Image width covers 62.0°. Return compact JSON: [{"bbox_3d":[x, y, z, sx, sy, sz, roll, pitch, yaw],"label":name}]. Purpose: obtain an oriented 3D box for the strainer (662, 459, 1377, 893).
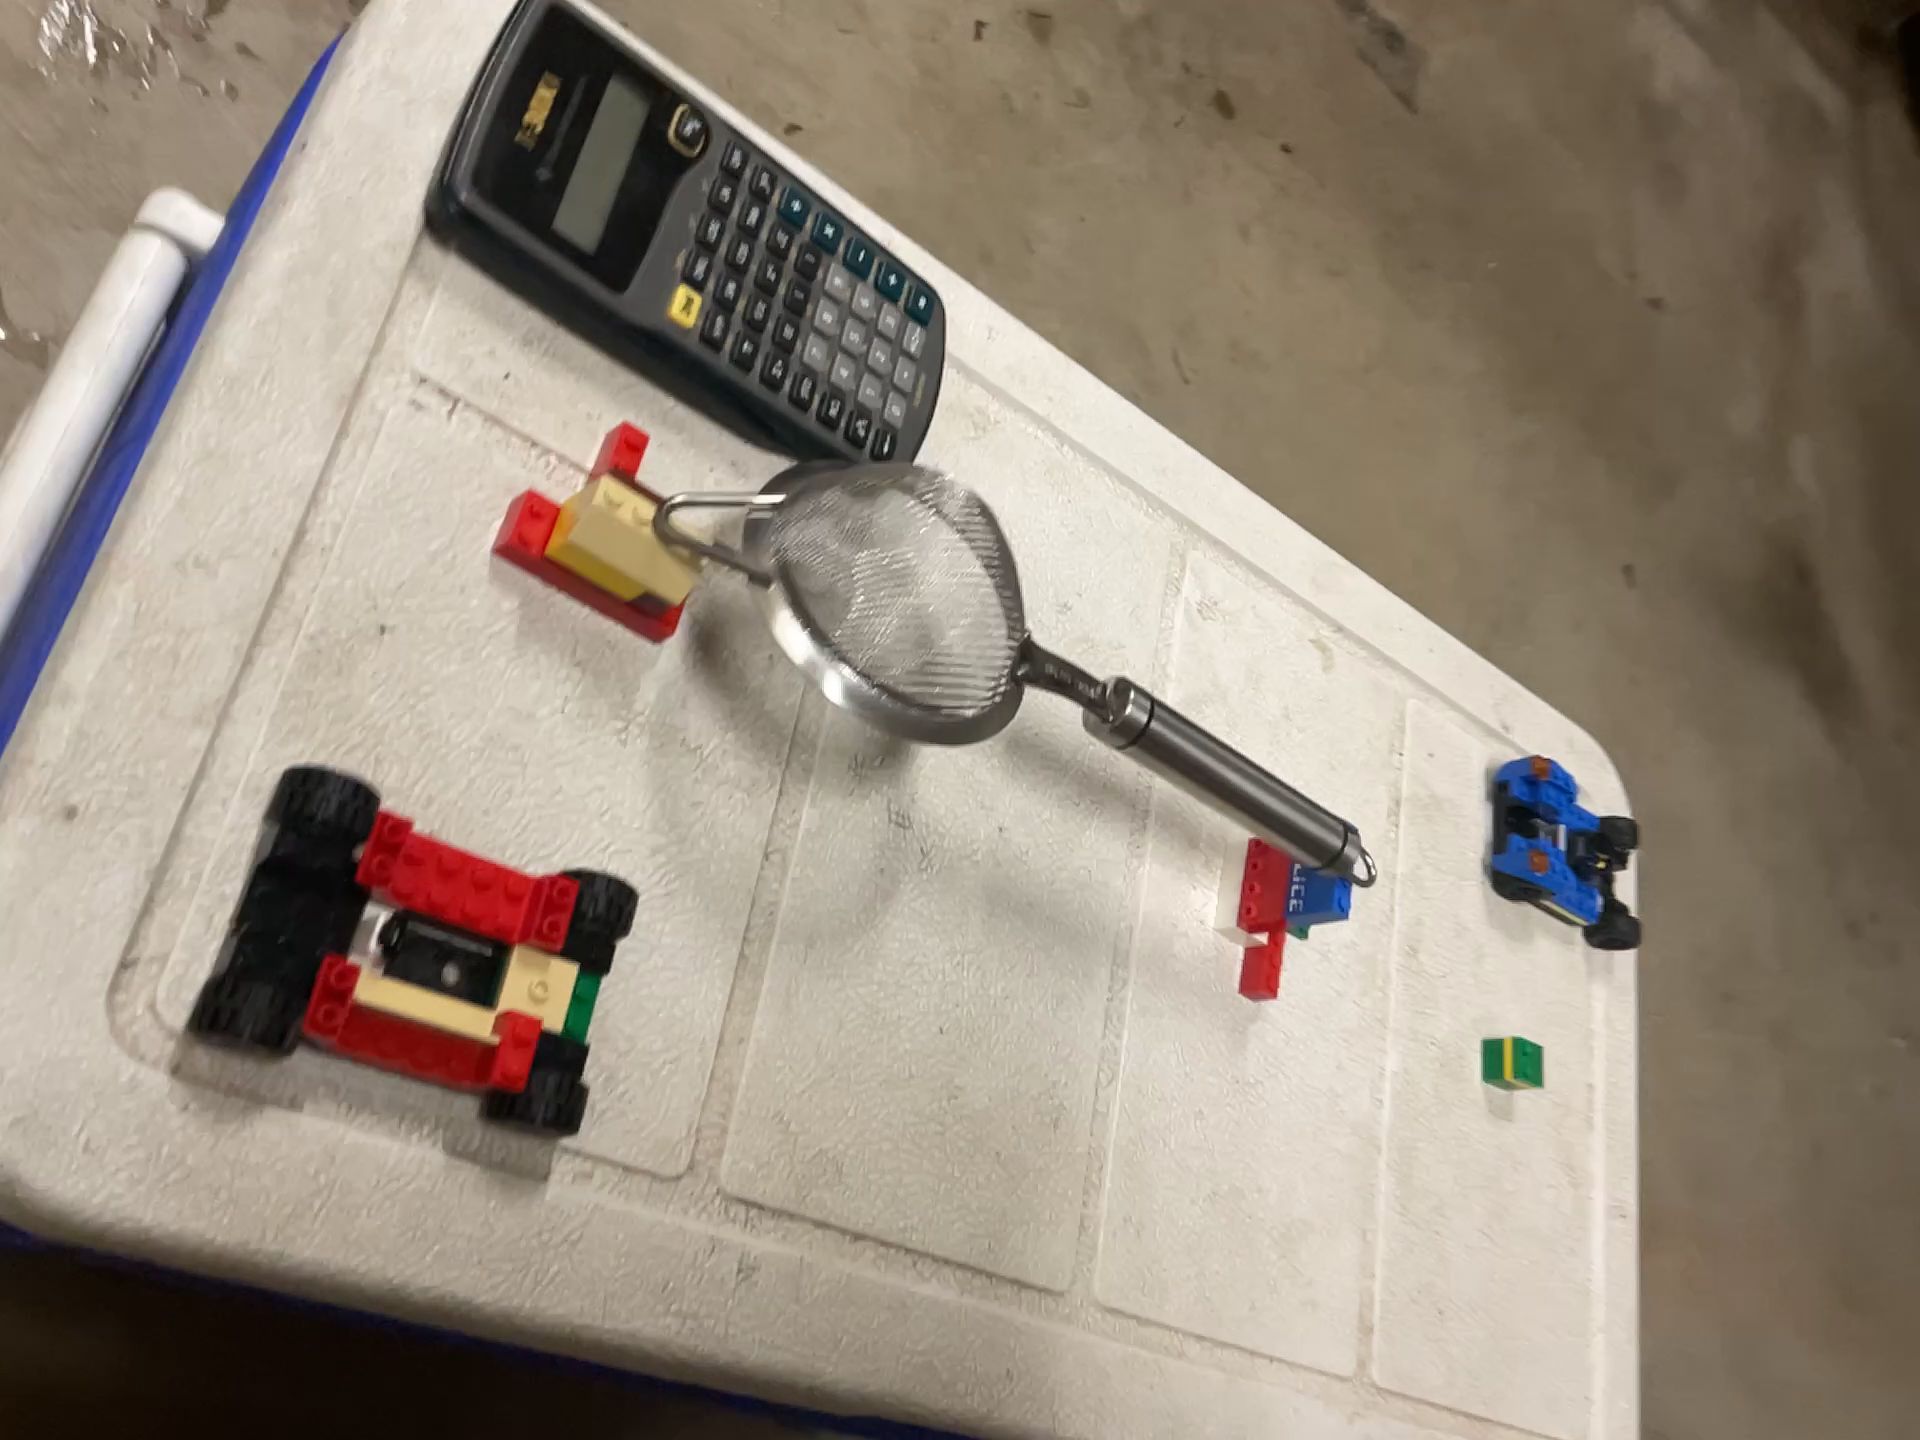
[{"bbox_3d":[0.039,-0.007,0.435,0.258,0.050,0.087,31,42,-33],"label":"strainer"}]
